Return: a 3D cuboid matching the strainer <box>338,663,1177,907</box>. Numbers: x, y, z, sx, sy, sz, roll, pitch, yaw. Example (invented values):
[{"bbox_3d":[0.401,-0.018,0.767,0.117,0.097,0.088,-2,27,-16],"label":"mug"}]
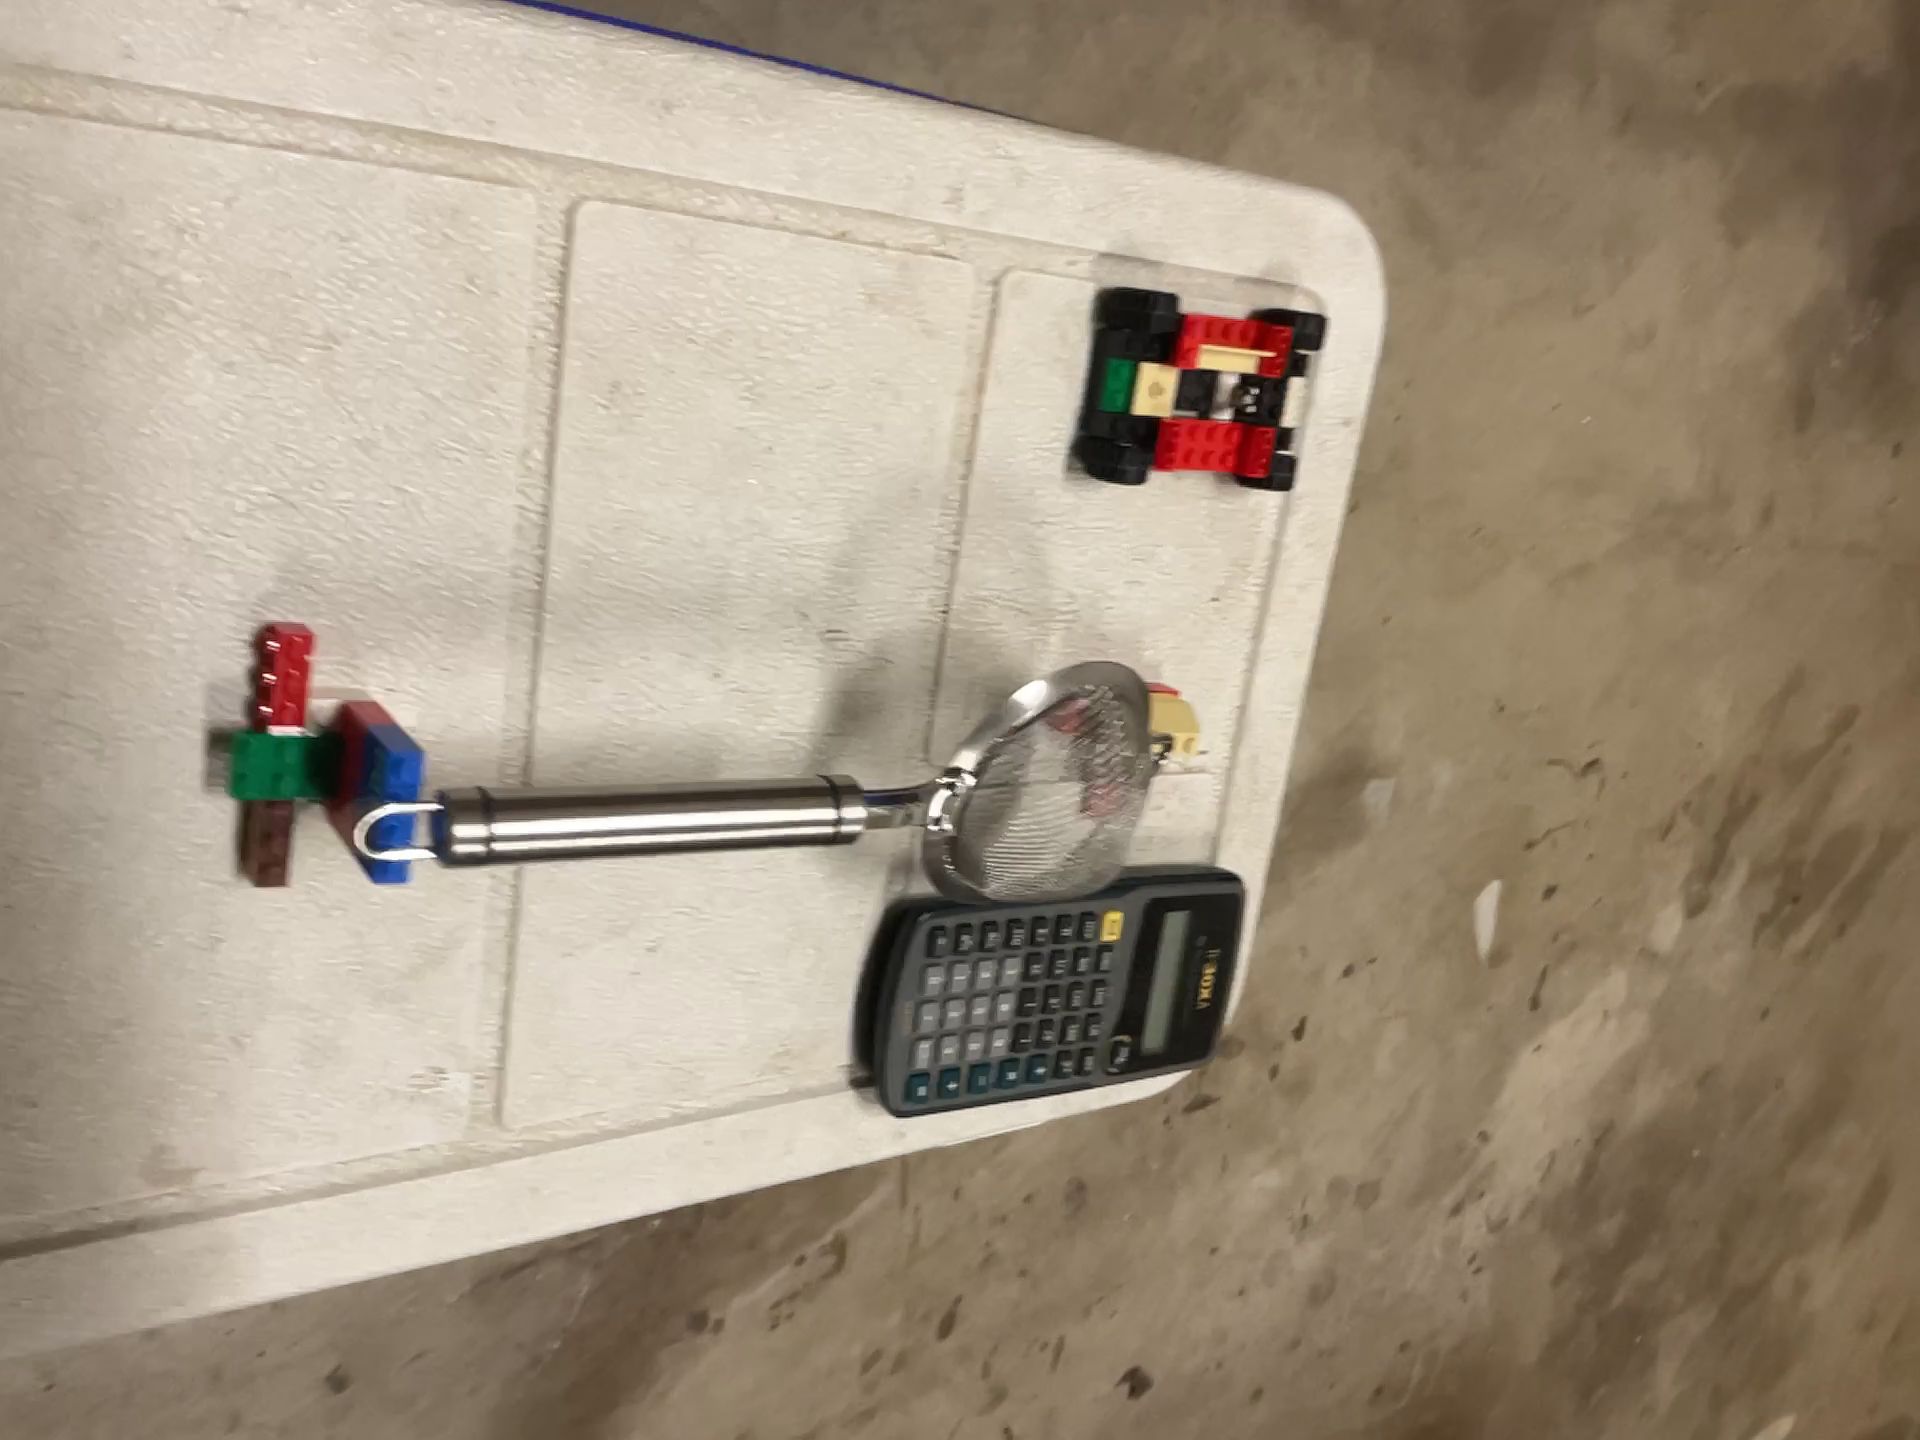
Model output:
[{"bbox_3d":[-0.029,0.026,0.421,0.258,0.050,0.086,0,124,-34],"label":"strainer"}]
